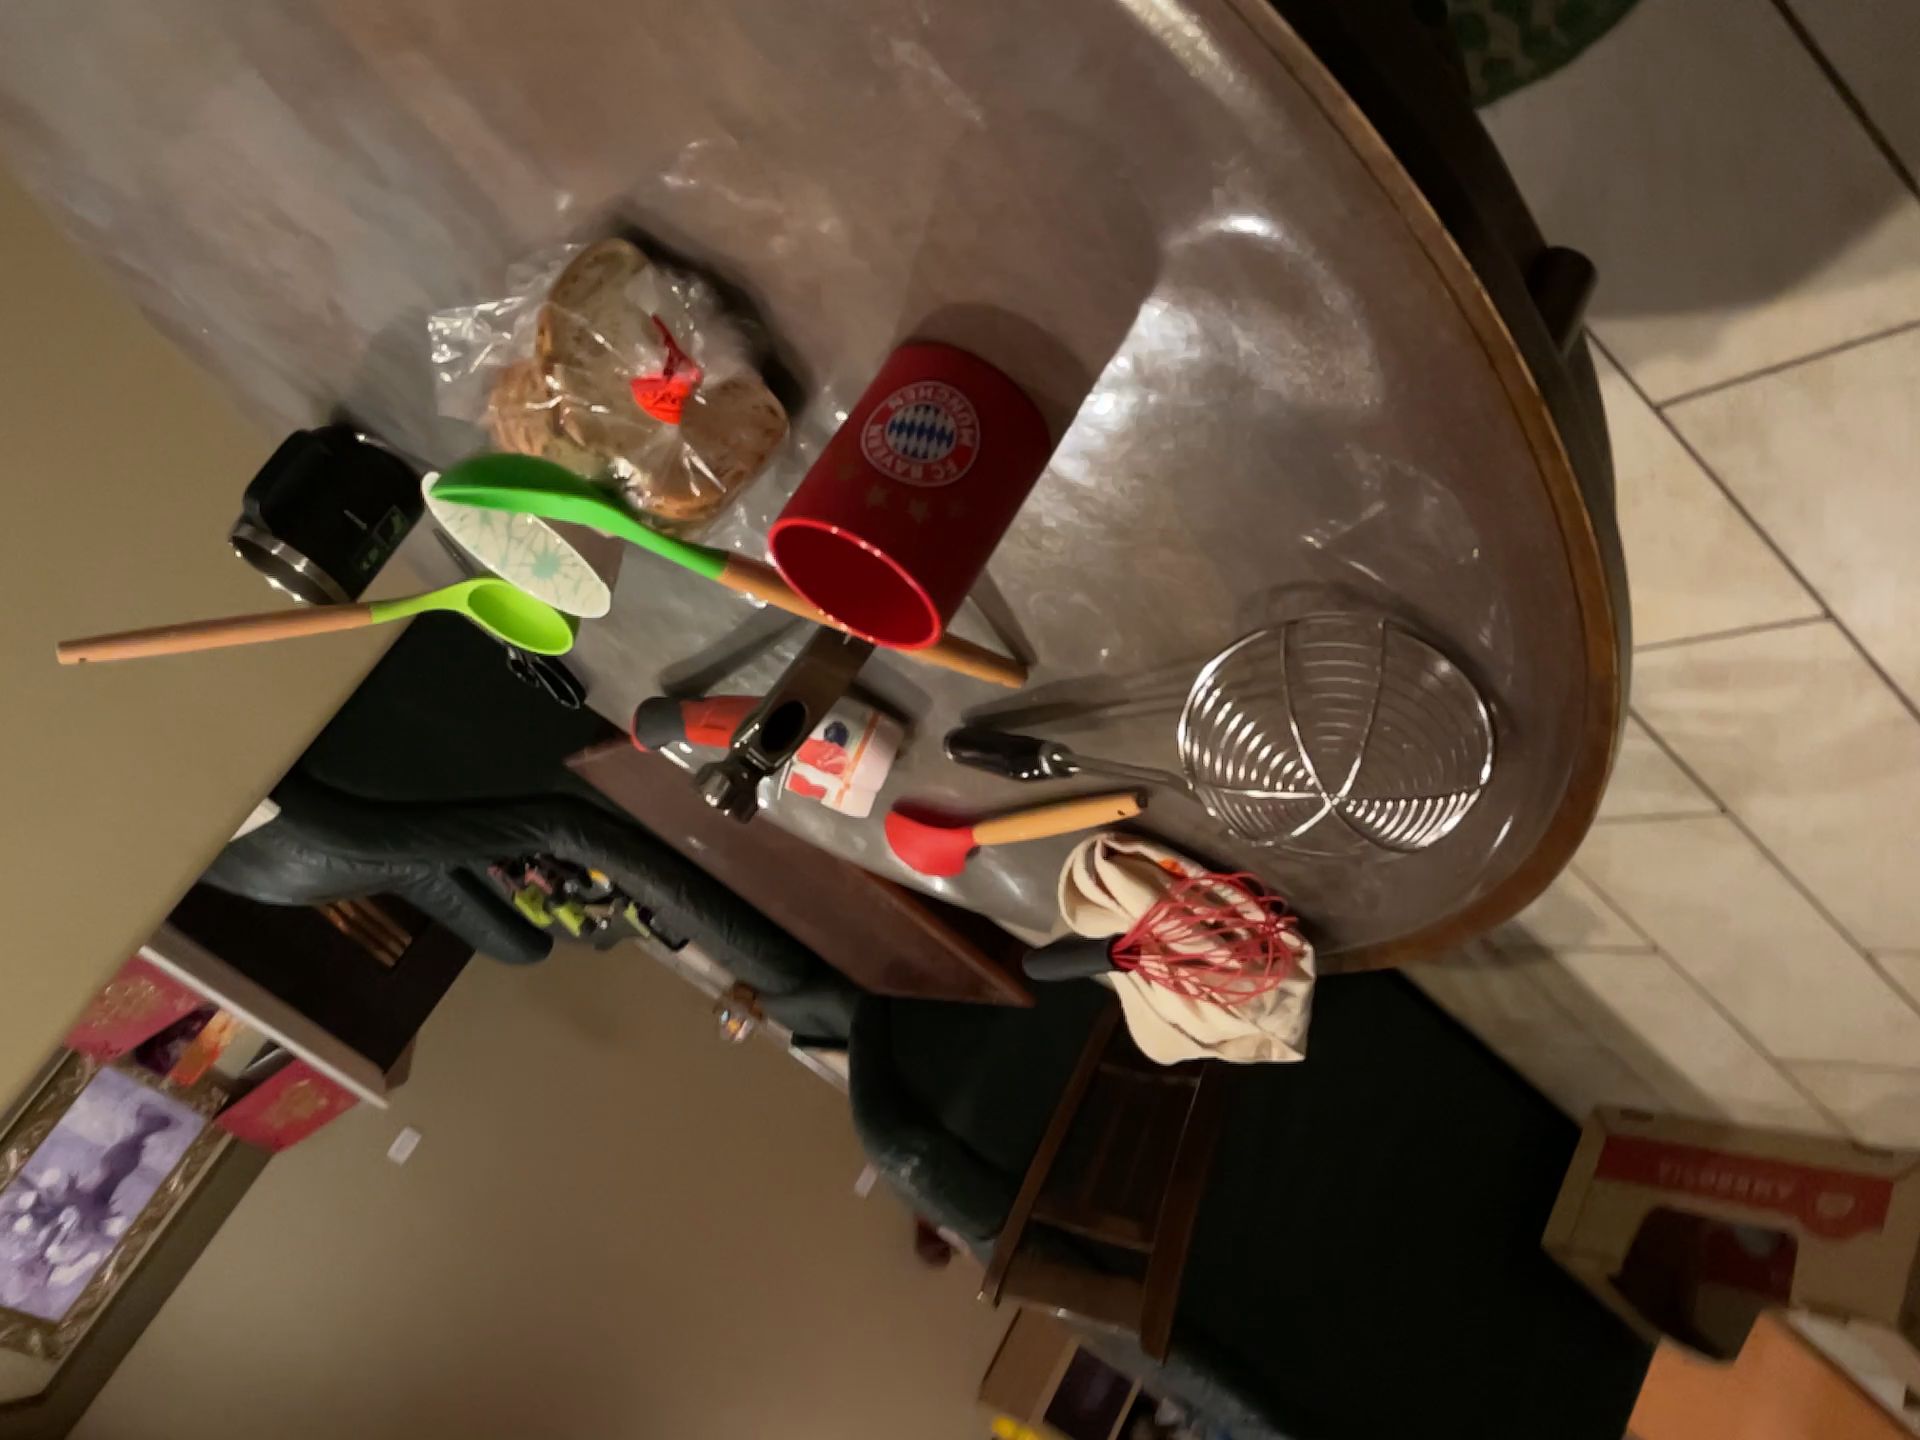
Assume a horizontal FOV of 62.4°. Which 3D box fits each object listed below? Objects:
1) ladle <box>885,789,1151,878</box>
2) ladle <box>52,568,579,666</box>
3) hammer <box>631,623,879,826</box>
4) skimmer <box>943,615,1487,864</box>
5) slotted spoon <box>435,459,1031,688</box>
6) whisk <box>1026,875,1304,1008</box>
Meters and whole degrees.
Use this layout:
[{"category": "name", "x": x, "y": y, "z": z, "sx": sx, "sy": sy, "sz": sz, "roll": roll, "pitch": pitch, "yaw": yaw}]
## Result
[{"category": "ladle", "x": 0.029, "y": 0.071, "z": 1.021, "sx": 0.069, "sy": 0.031, "sz": 0.315, "roll": 38, "pitch": 155, "yaw": -17}, {"category": "ladle", "x": -0.412, "y": -0.056, "z": 1.036, "sx": 0.078, "sy": 0.320, "sz": 0.062, "roll": 119, "pitch": 136, "yaw": -57}, {"category": "hammer", "x": -0.149, "y": -0.013, "z": 1.013, "sx": 0.038, "sy": 0.143, "sz": 0.386, "roll": 40, "pitch": 168, "yaw": -17}, {"category": "skimmer", "x": 0.097, "y": 0.004, "z": 0.787, "sx": 0.127, "sy": 0.090, "sz": 0.363, "roll": 50, "pitch": 163, "yaw": -20}, {"category": "slotted spoon", "x": -0.091, "y": -0.065, "z": 0.755, "sx": 0.313, "sy": 0.031, "sz": 0.070, "roll": 18, "pitch": 172, "yaw": -32}, {"category": "whisk", "x": 0.106, "y": 0.135, "z": 0.922, "sx": 0.073, "sy": 0.073, "sz": 0.296, "roll": 35, "pitch": 158, "yaw": -12}]
